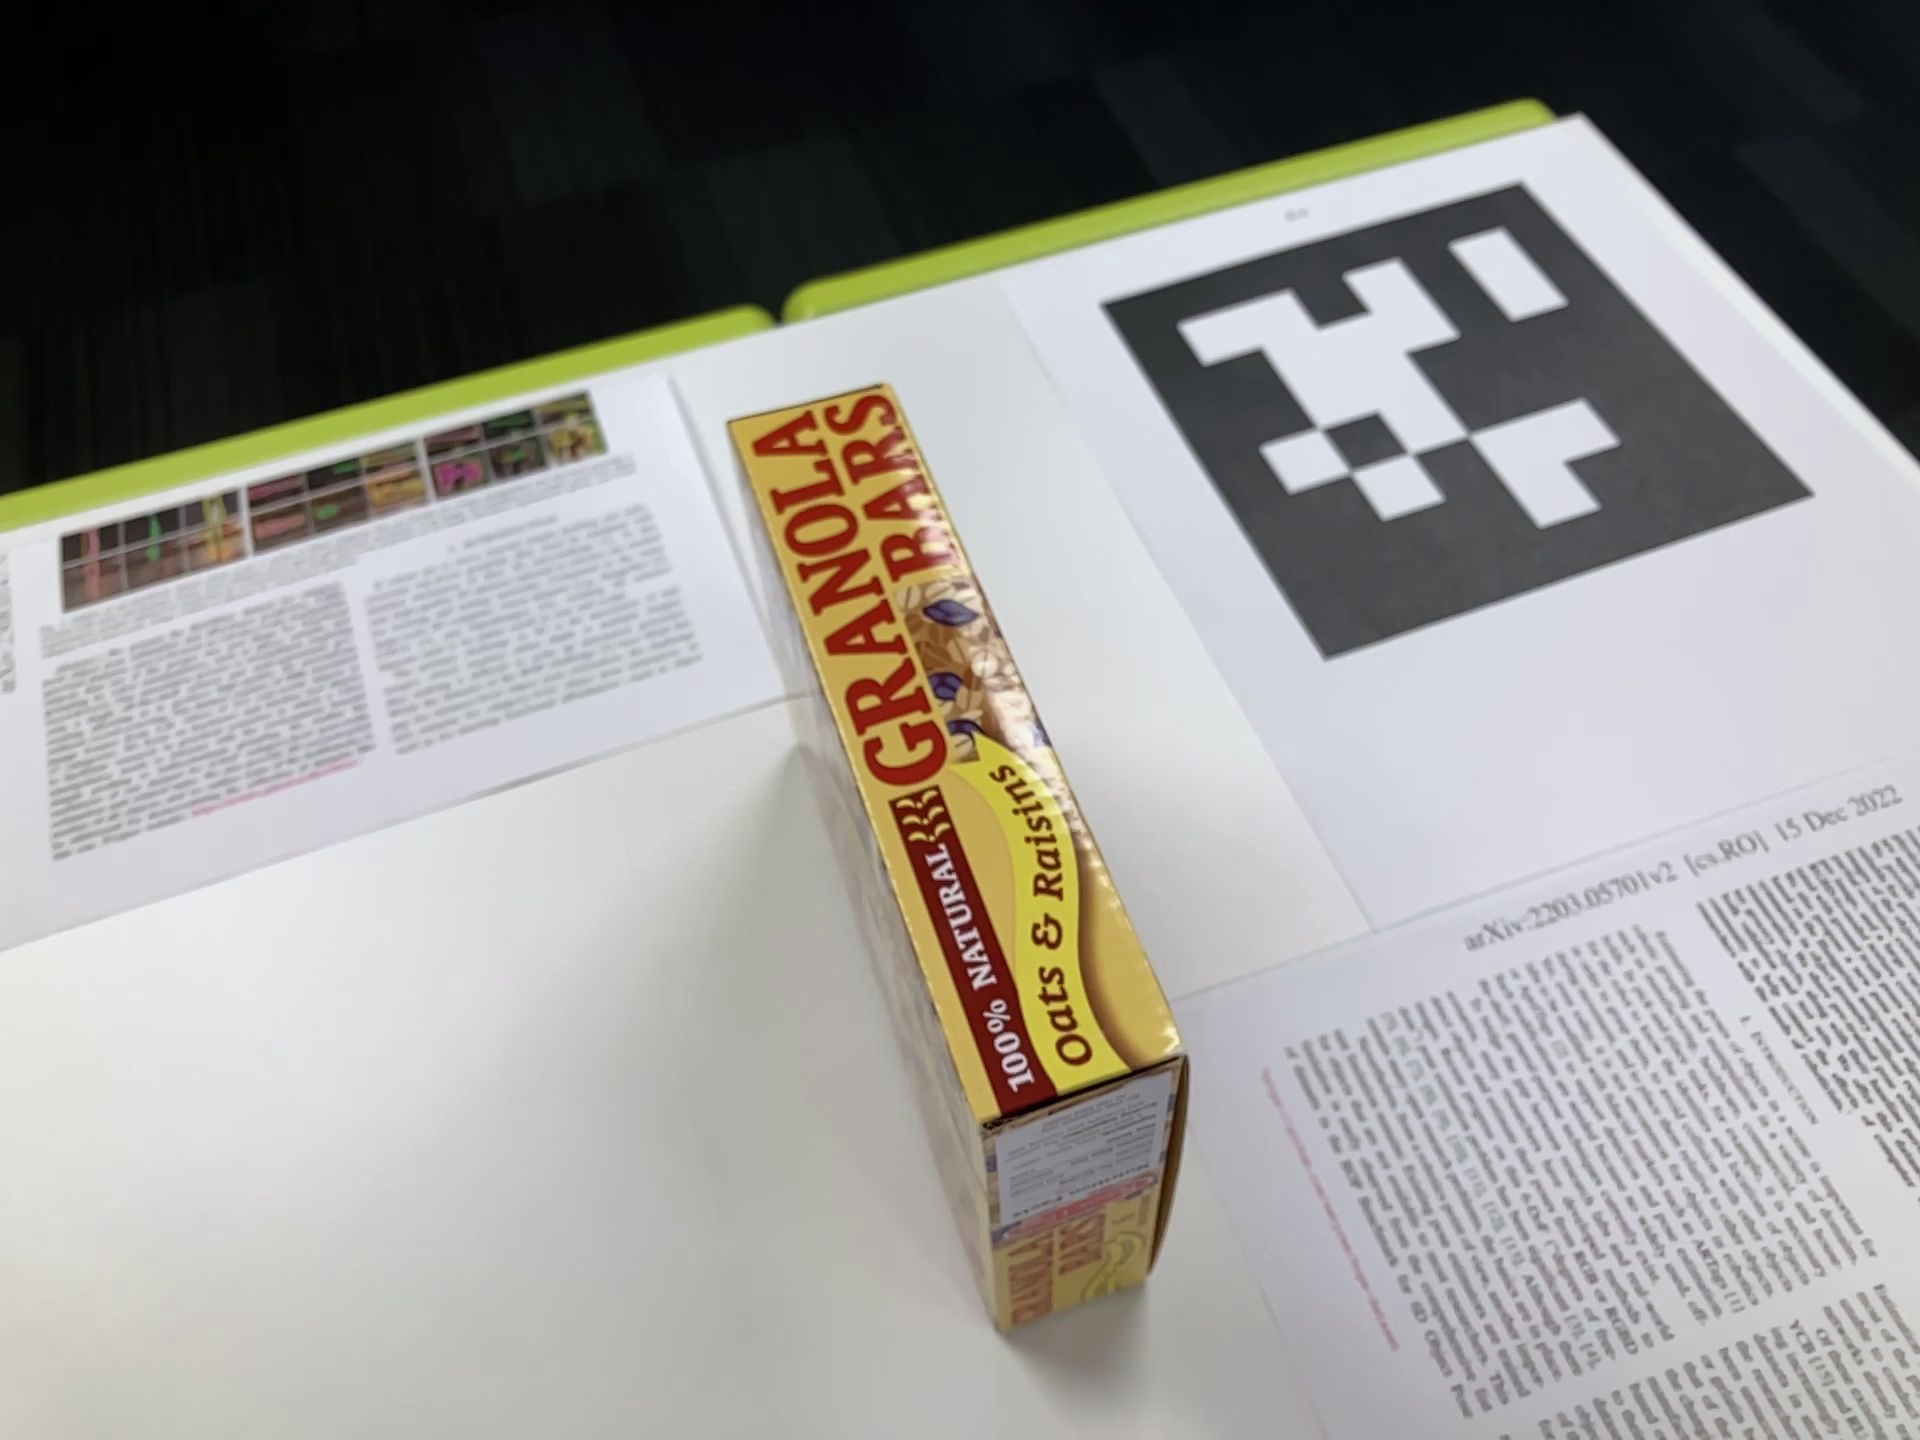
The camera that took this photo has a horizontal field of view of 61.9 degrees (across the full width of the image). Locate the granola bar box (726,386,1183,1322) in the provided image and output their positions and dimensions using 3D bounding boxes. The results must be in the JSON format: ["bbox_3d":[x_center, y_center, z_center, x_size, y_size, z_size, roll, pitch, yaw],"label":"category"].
[{"bbox_3d":[-0.004,0.029,0.348,0.039,0.124,0.165,-17,56,-9],"label":"granola bar box"}]
